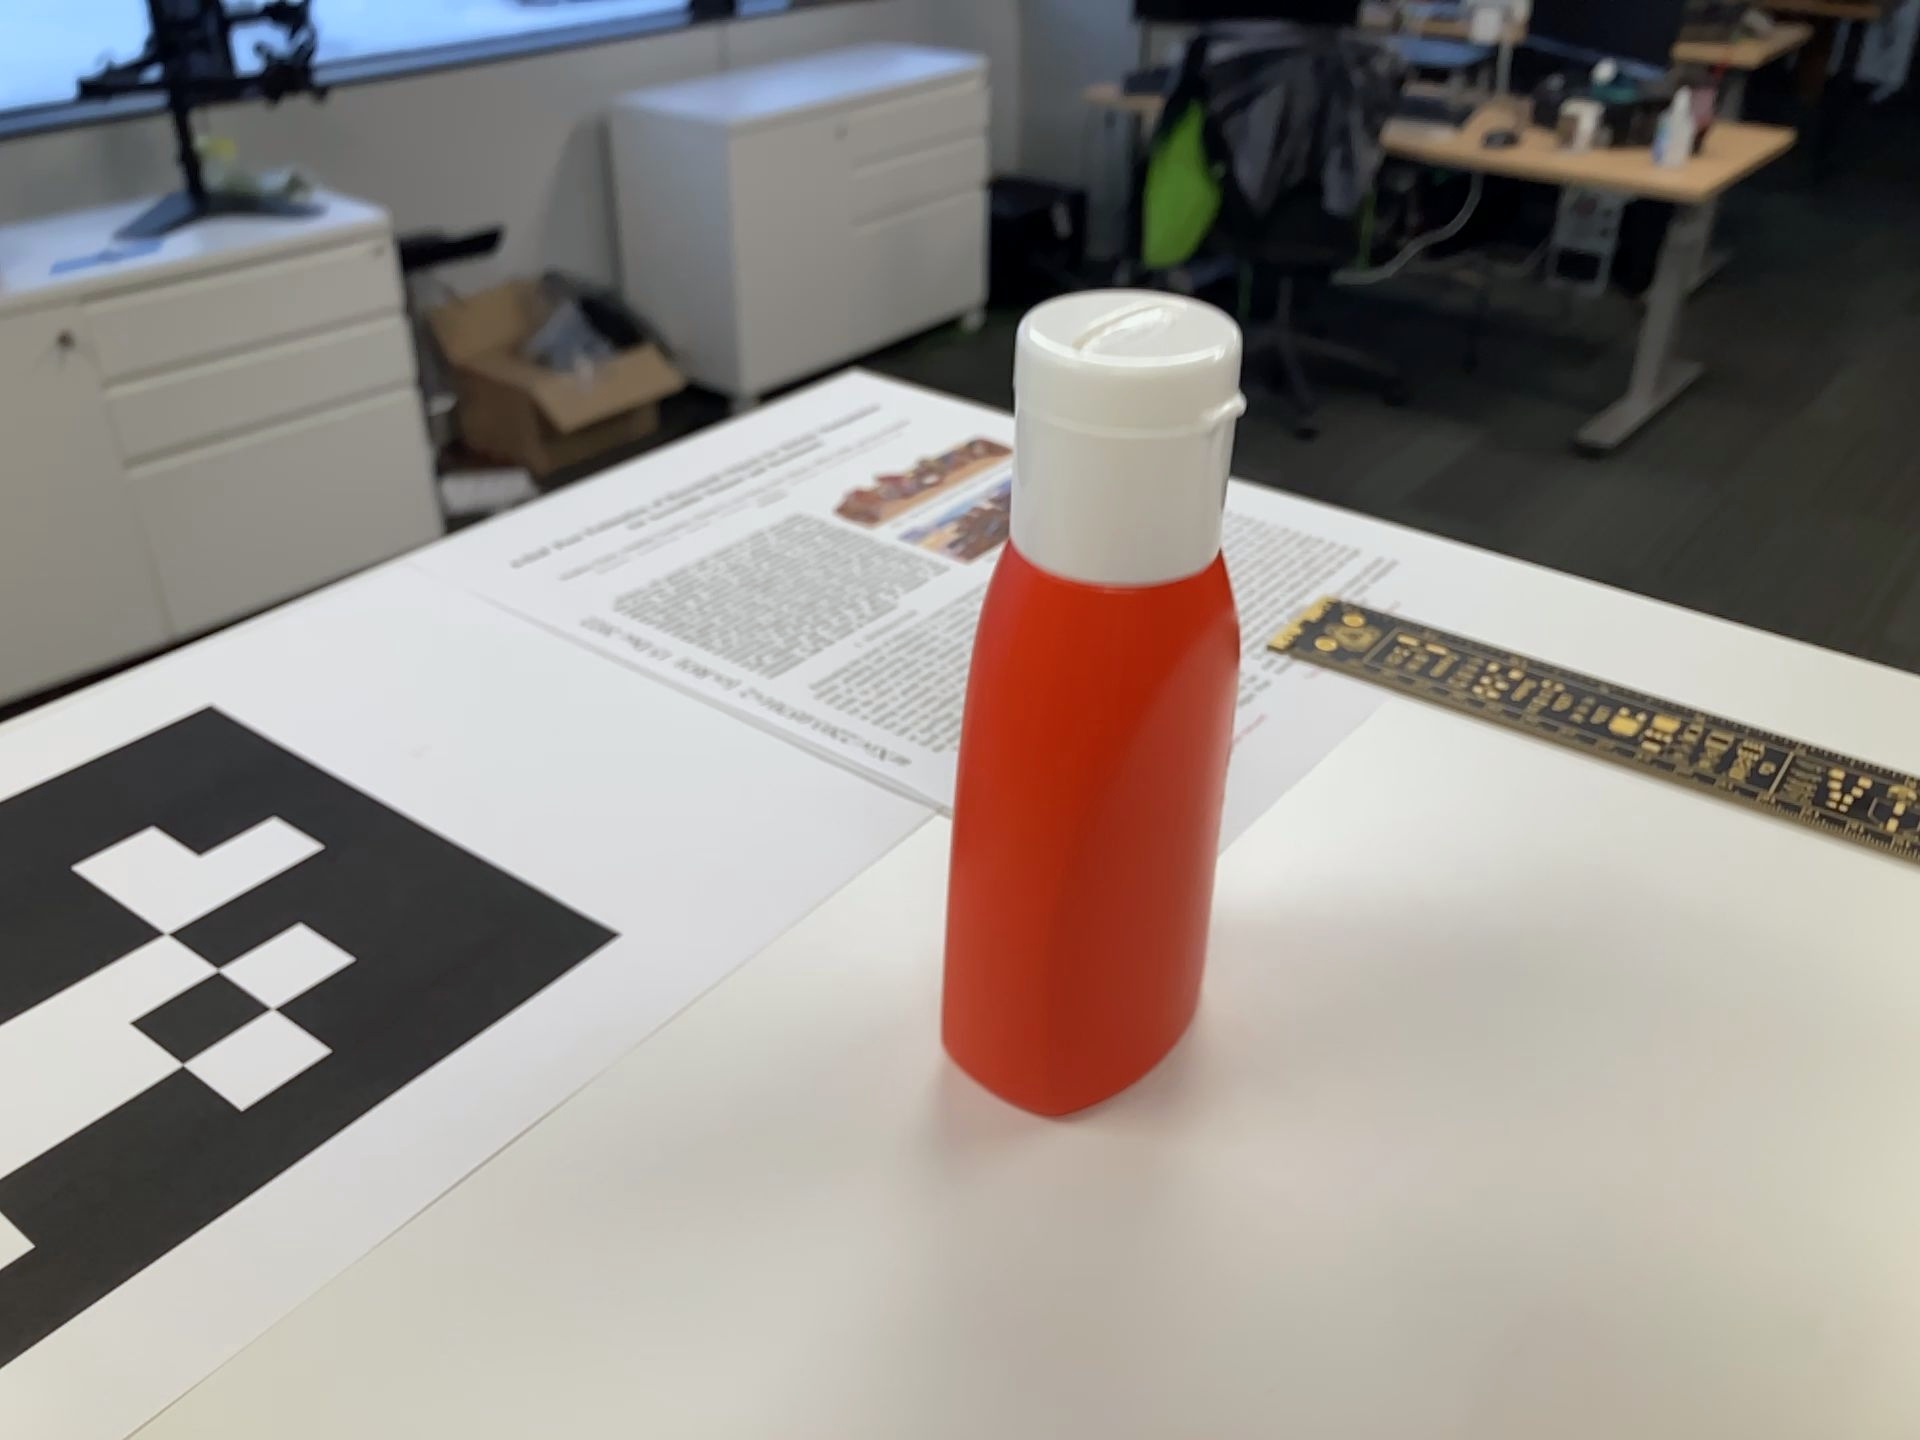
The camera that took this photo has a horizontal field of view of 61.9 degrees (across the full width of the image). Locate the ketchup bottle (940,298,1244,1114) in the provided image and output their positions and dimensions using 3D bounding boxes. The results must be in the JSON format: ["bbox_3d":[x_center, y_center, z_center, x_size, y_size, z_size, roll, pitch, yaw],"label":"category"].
[{"bbox_3d":[0.026,0.000,0.295,0.043,0.149,0.065,24,39,31],"label":"ketchup bottle"}]
